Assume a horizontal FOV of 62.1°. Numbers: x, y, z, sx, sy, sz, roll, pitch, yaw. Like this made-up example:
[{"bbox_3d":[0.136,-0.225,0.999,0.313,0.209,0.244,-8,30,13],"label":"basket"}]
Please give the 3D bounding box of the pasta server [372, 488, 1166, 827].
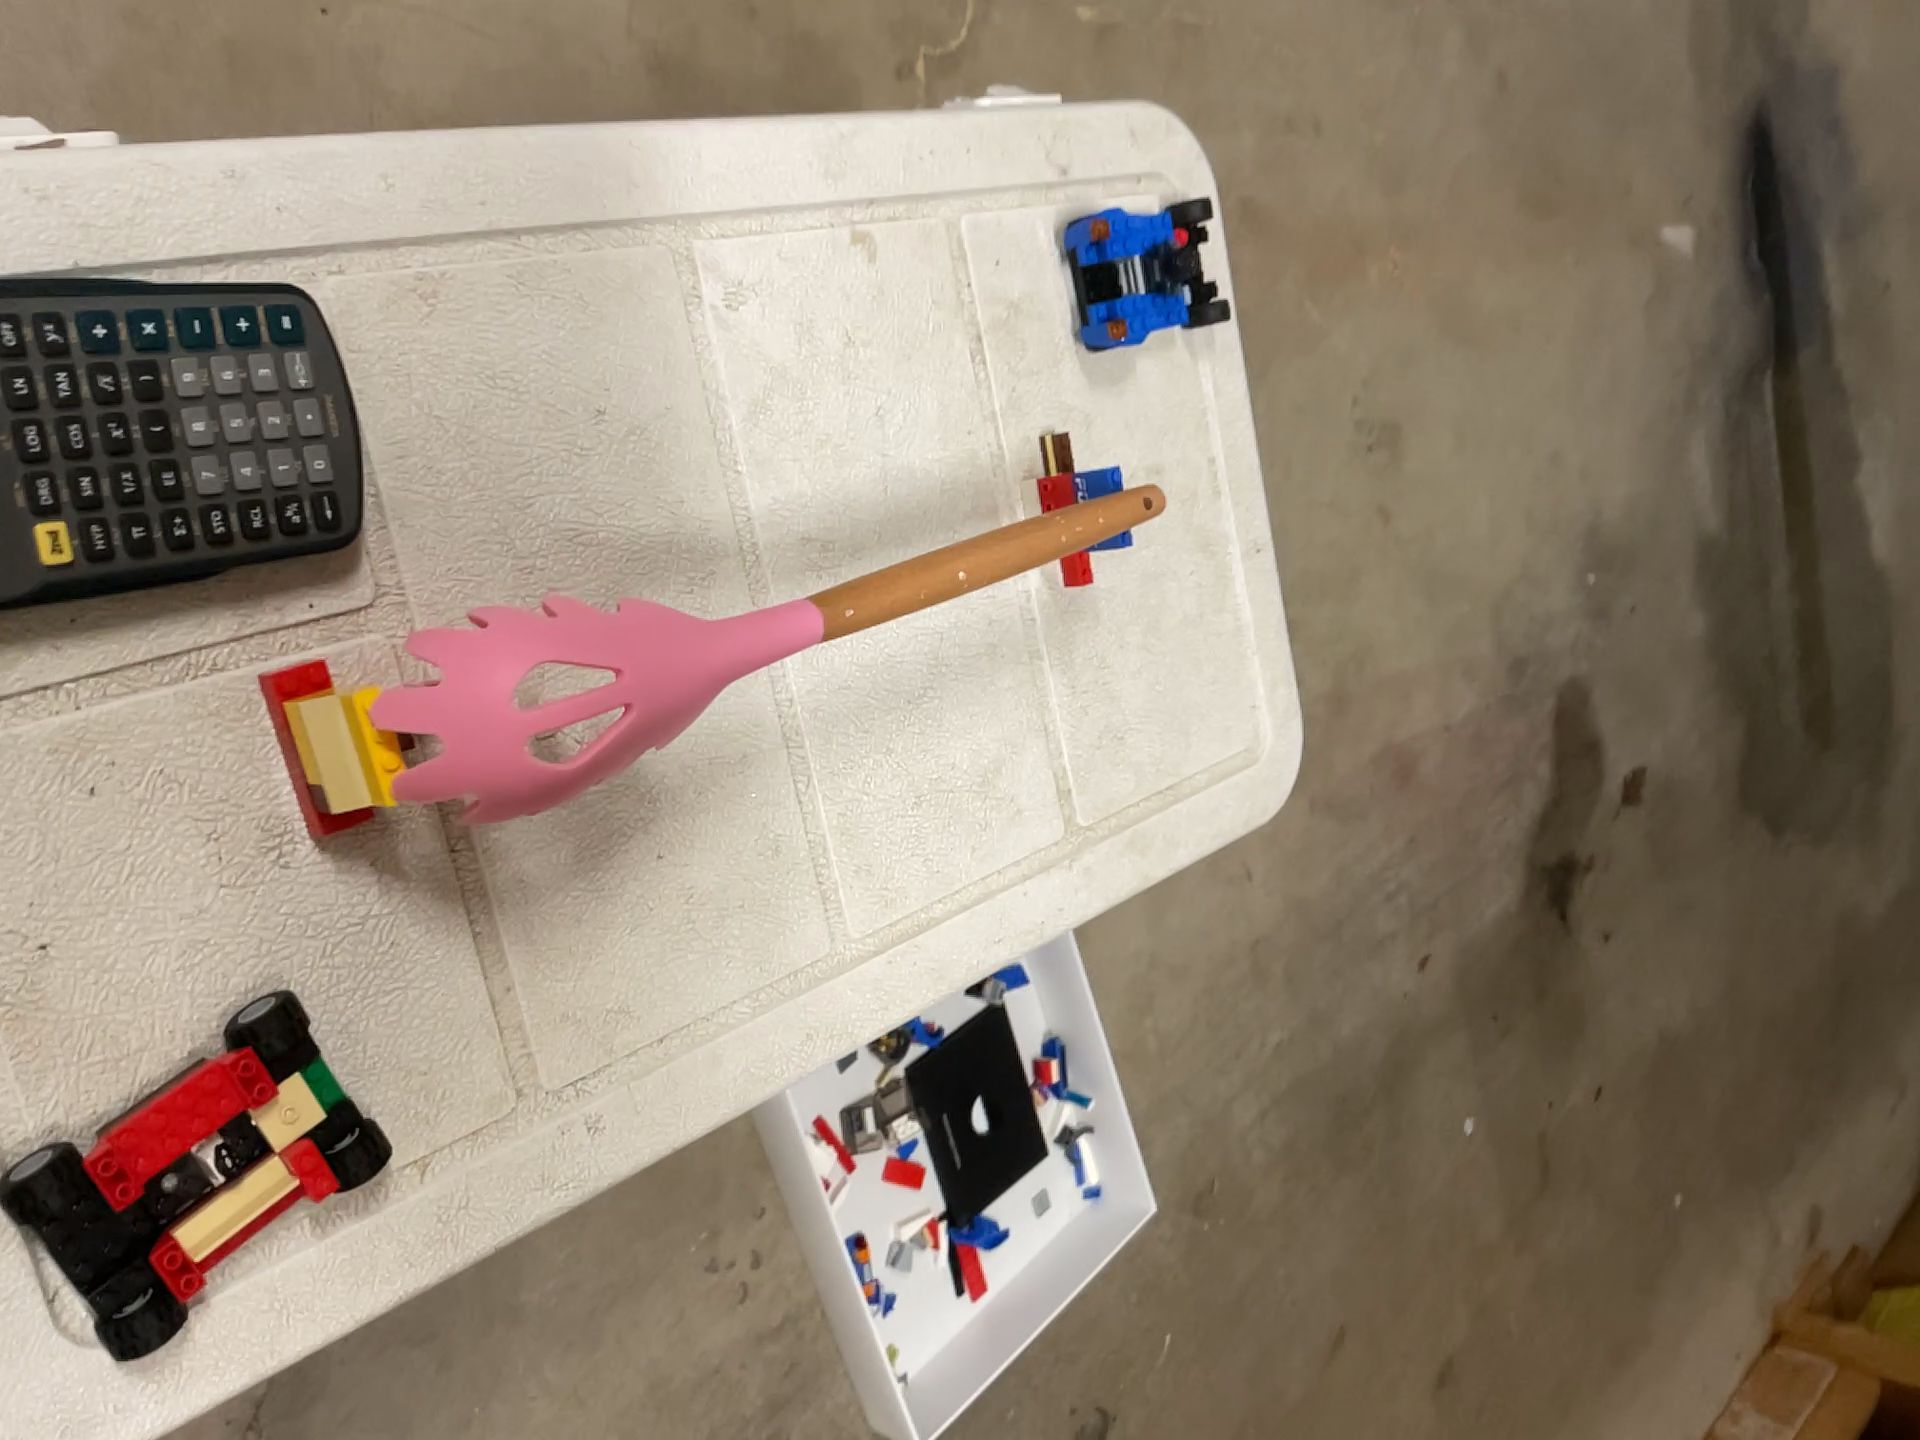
[{"bbox_3d":[-0.035,-0.038,0.520,0.316,0.040,0.060,-24,105,-43],"label":"pasta server"}]
